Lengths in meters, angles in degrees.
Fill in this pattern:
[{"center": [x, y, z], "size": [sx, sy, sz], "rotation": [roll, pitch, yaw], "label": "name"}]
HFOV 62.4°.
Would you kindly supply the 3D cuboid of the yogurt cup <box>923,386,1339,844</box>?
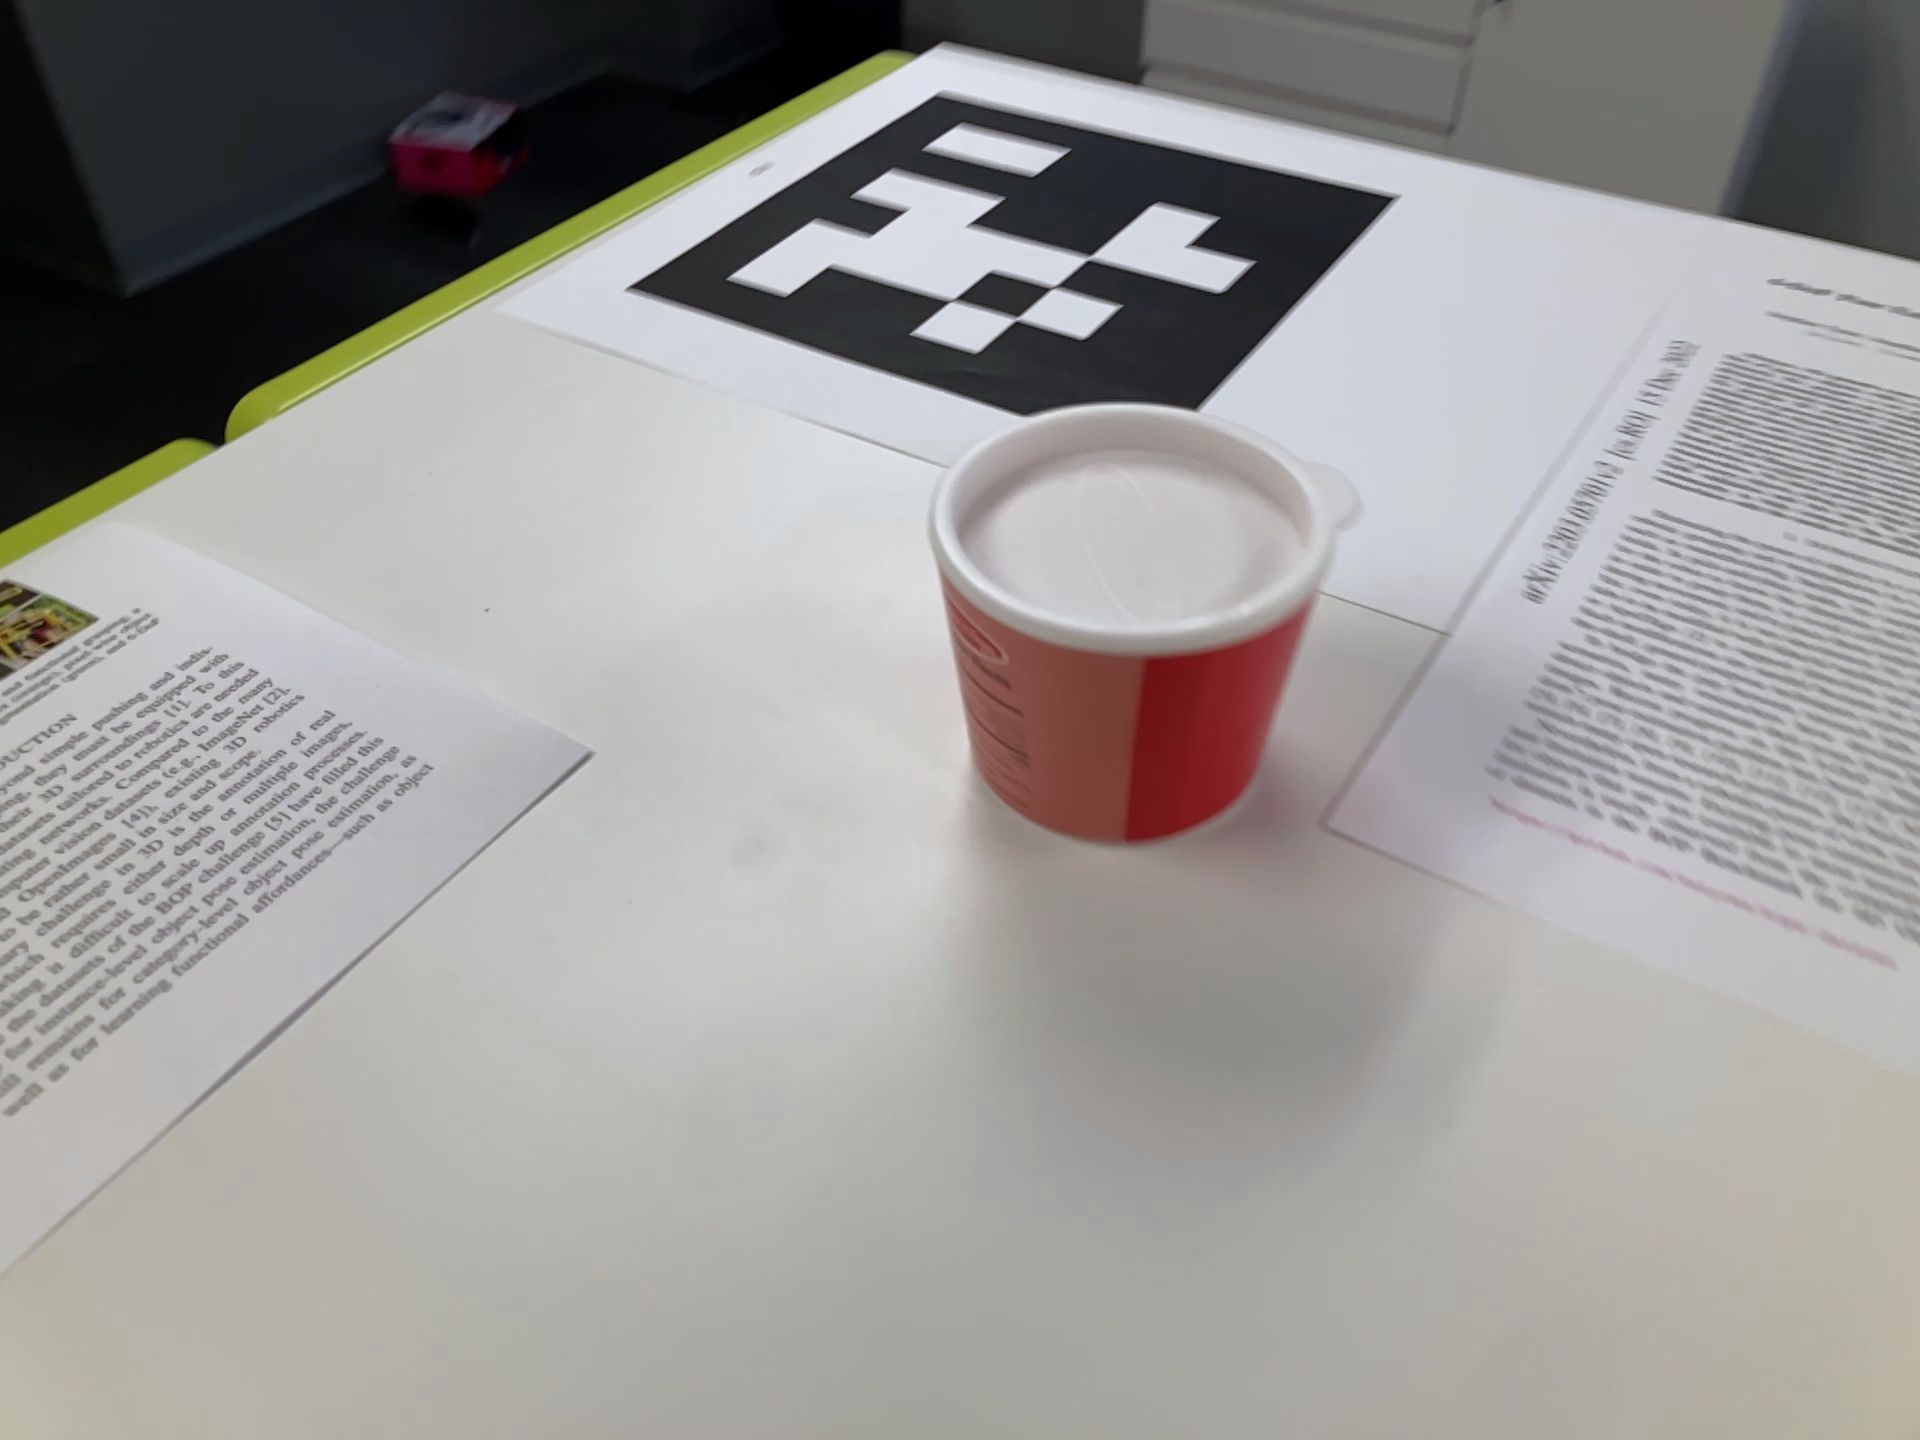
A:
[{"center": [0.029, -0.016, 0.277], "size": [0.072, 0.054, 0.072], "rotation": [-1, 42, 1], "label": "yogurt cup"}]
